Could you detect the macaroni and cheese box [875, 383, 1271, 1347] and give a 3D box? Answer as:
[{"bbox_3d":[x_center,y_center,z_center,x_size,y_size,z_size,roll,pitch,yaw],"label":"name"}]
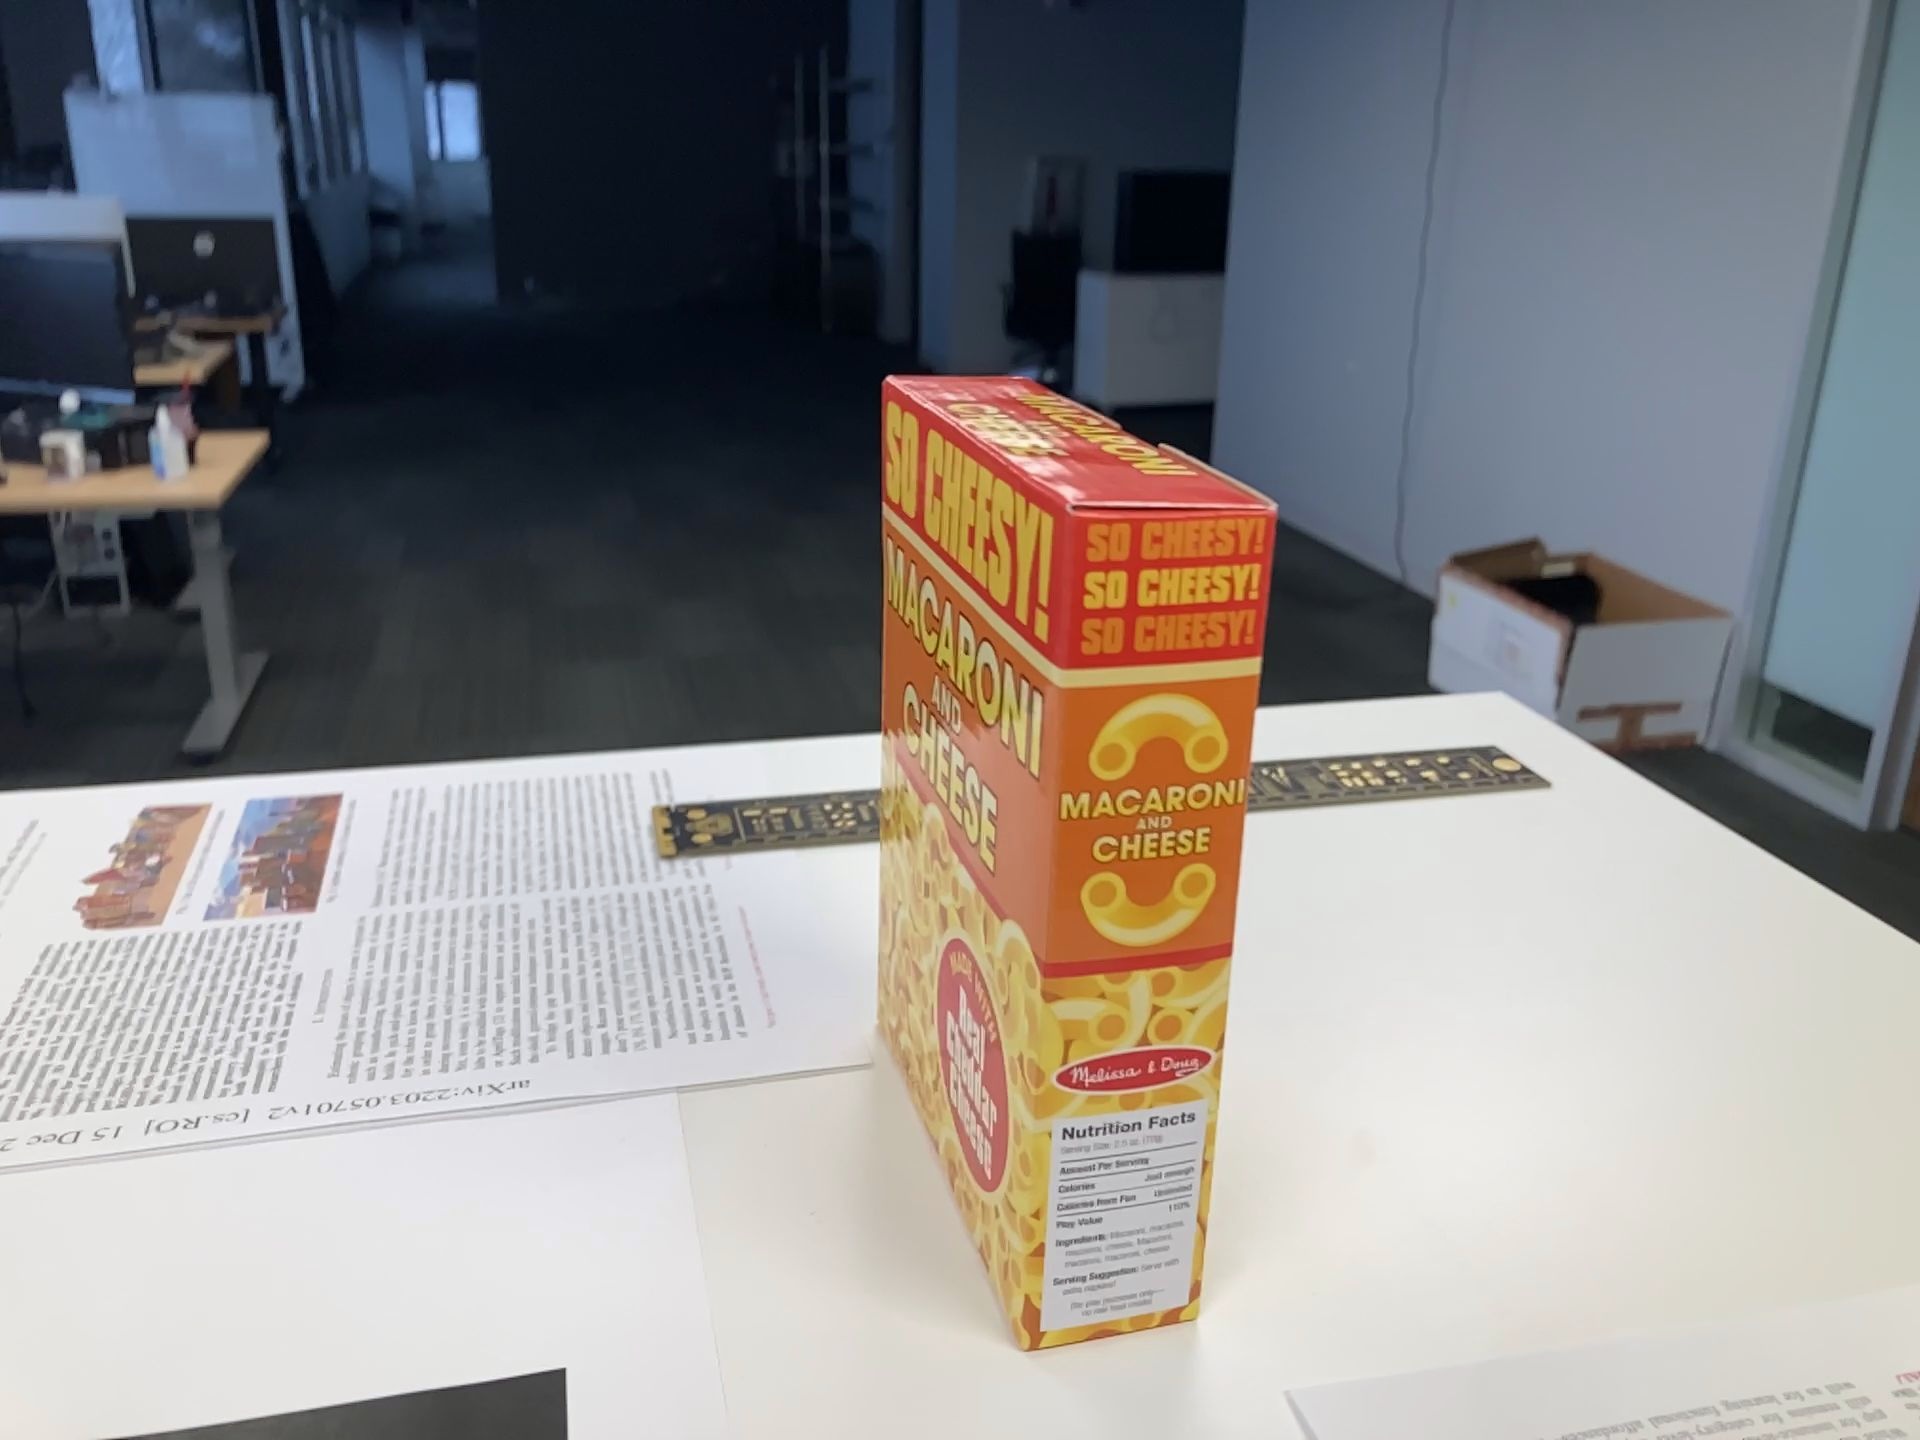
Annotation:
[{"bbox_3d":[0.015,0.021,0.337,0.040,0.166,0.124,-5,21,-17],"label":"macaroni and cheese box"}]
